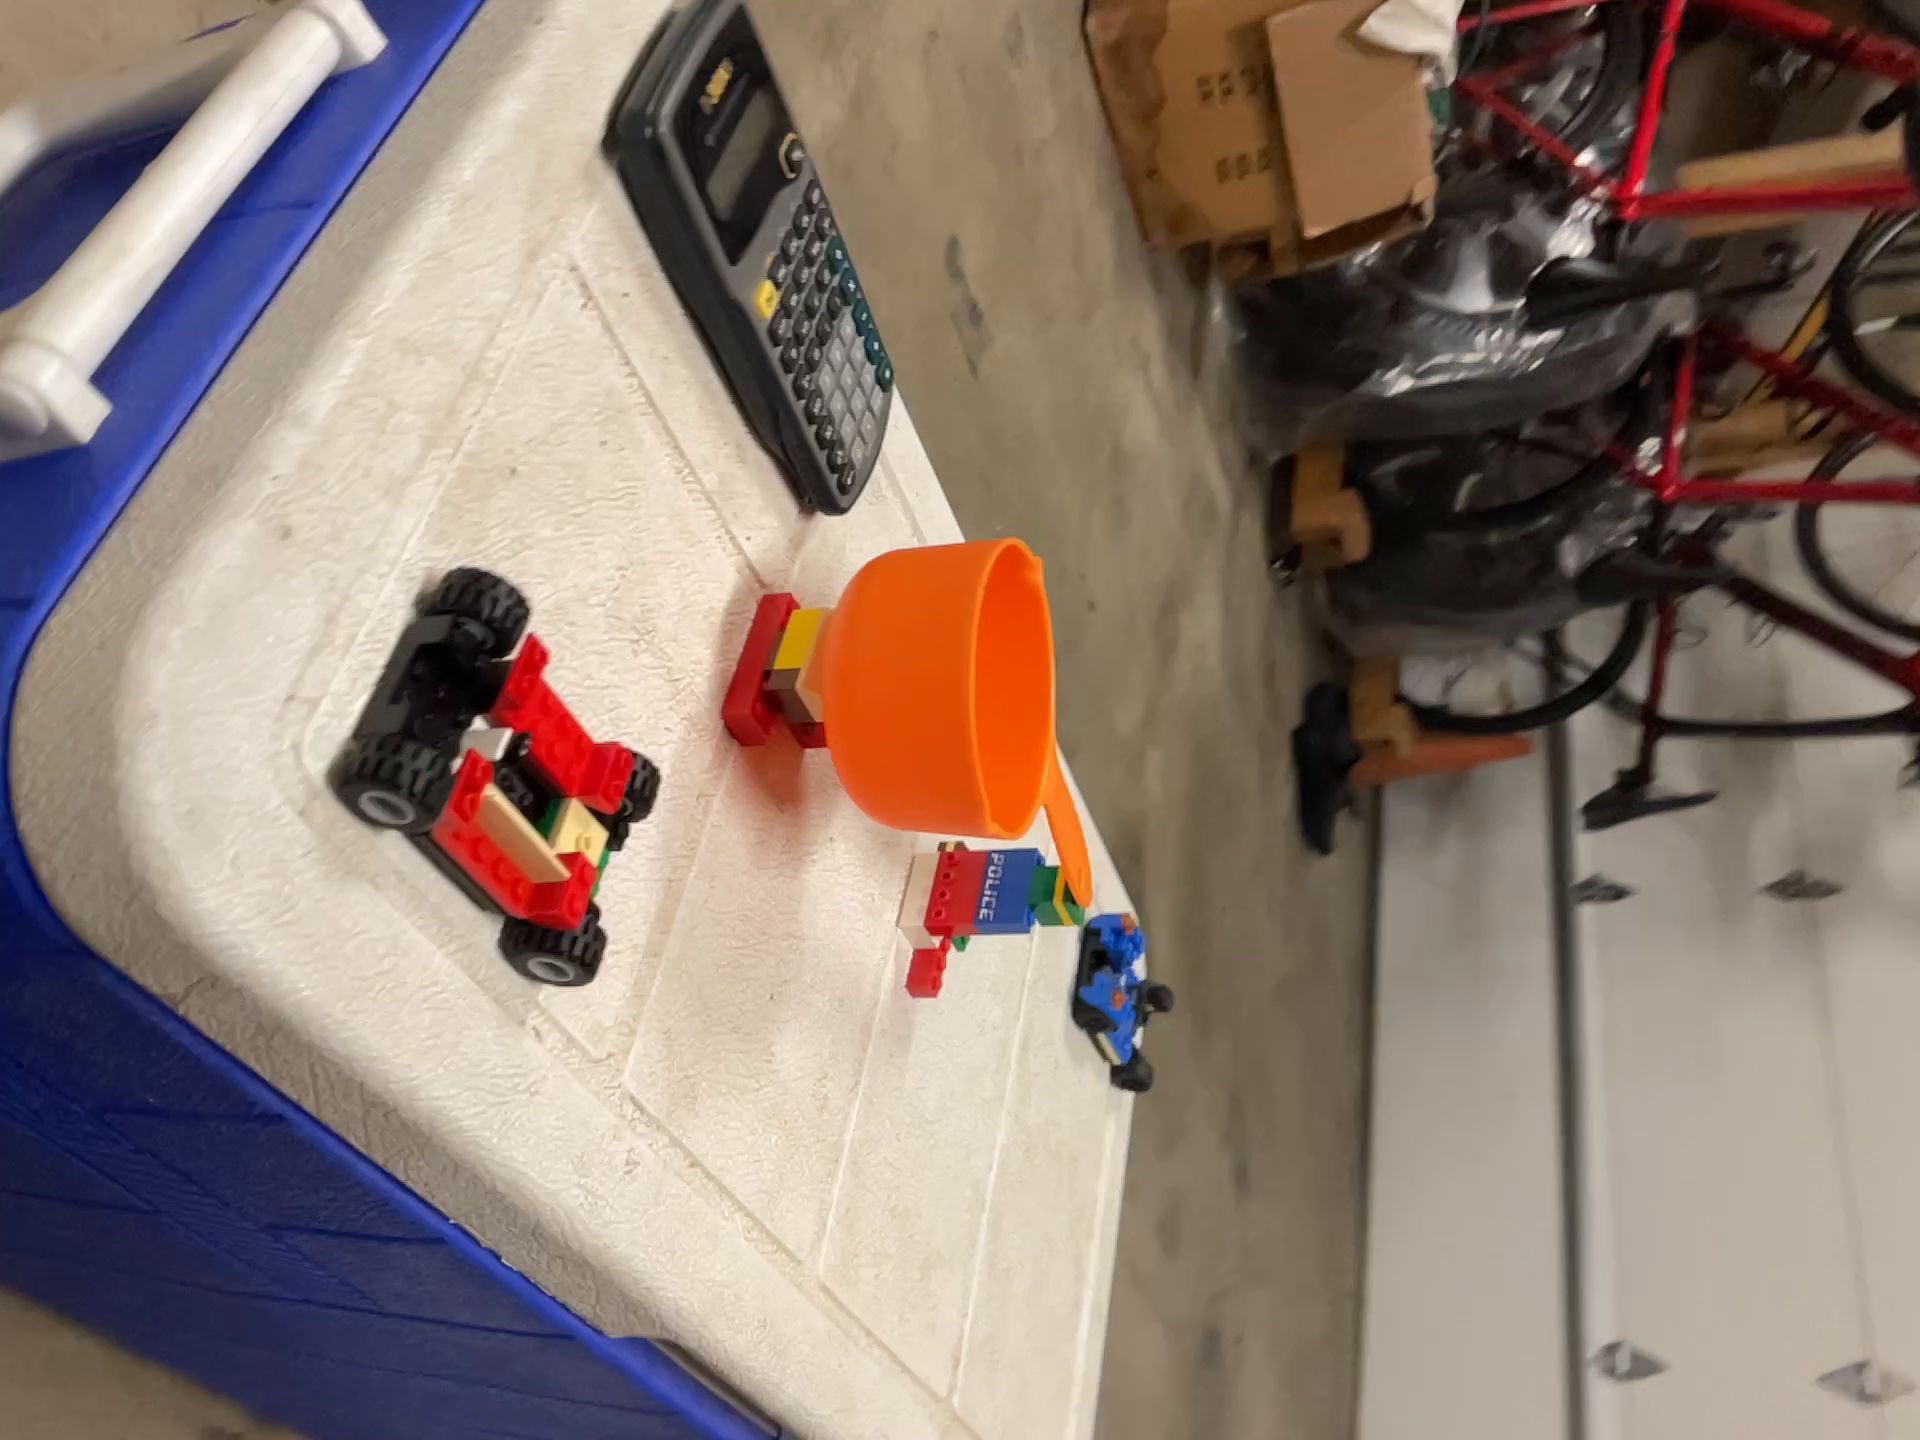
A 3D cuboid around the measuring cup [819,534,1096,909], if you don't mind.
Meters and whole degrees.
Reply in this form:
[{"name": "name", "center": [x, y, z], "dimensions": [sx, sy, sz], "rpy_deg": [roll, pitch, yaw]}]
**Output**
[{"name": "measuring cup", "center": [0.004, 0.014, 0.499], "dimensions": [0.173, 0.052, 0.095], "rpy_deg": [66, 29, -52]}]
